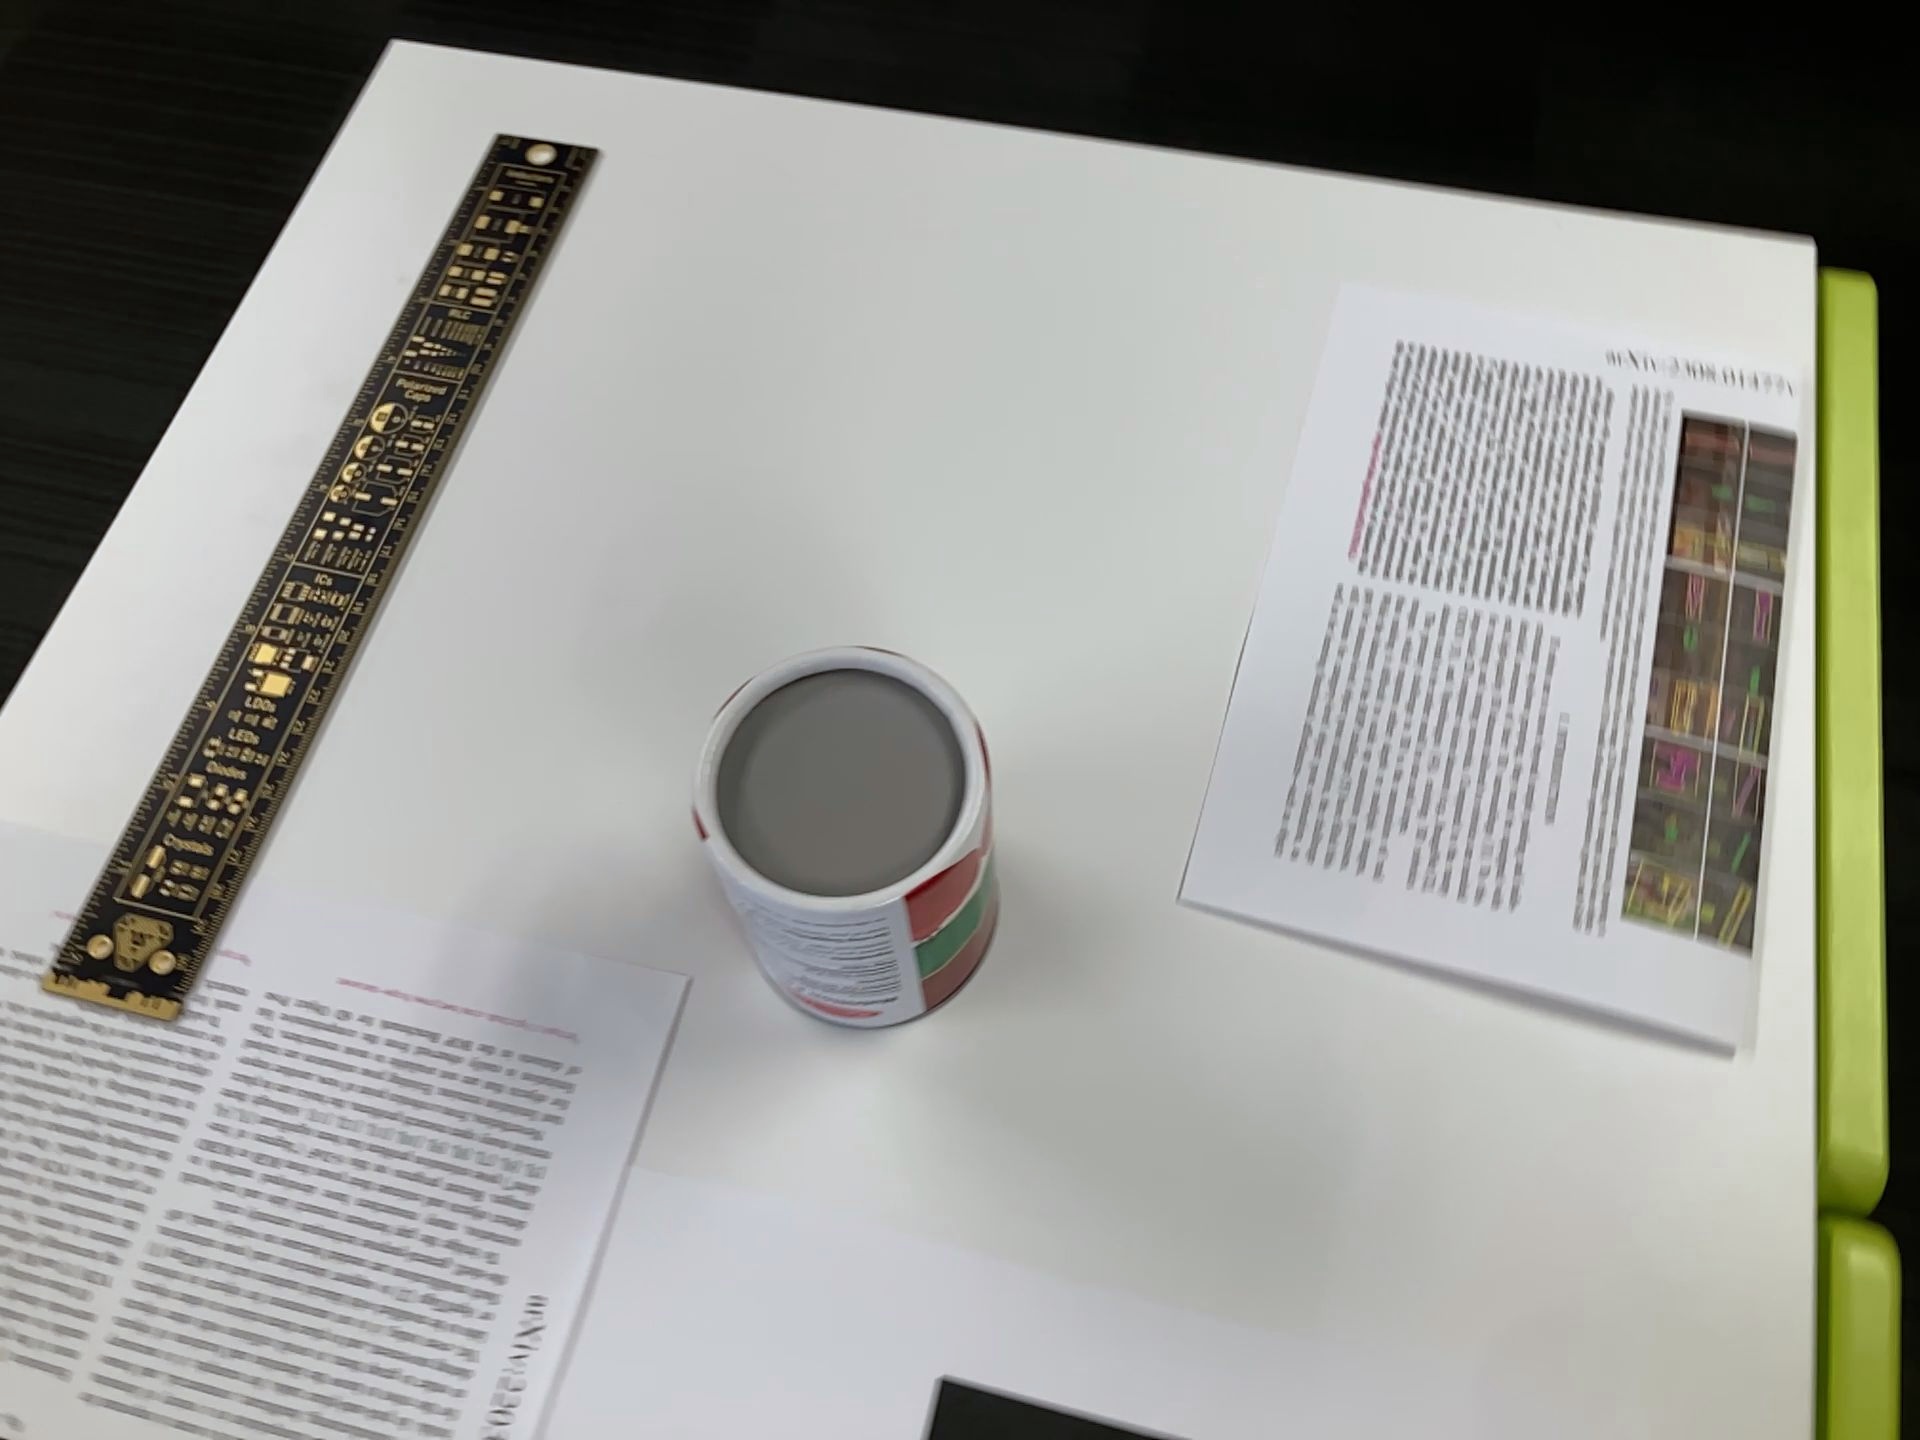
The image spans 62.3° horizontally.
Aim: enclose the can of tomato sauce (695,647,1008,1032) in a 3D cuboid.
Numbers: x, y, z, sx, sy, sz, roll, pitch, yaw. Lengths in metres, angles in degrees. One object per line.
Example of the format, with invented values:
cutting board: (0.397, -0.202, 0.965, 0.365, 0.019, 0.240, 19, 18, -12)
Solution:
can of tomato sauce: (-0.023, 0.029, 0.386, 0.071, 0.083, 0.071, -2, 61, 4)
